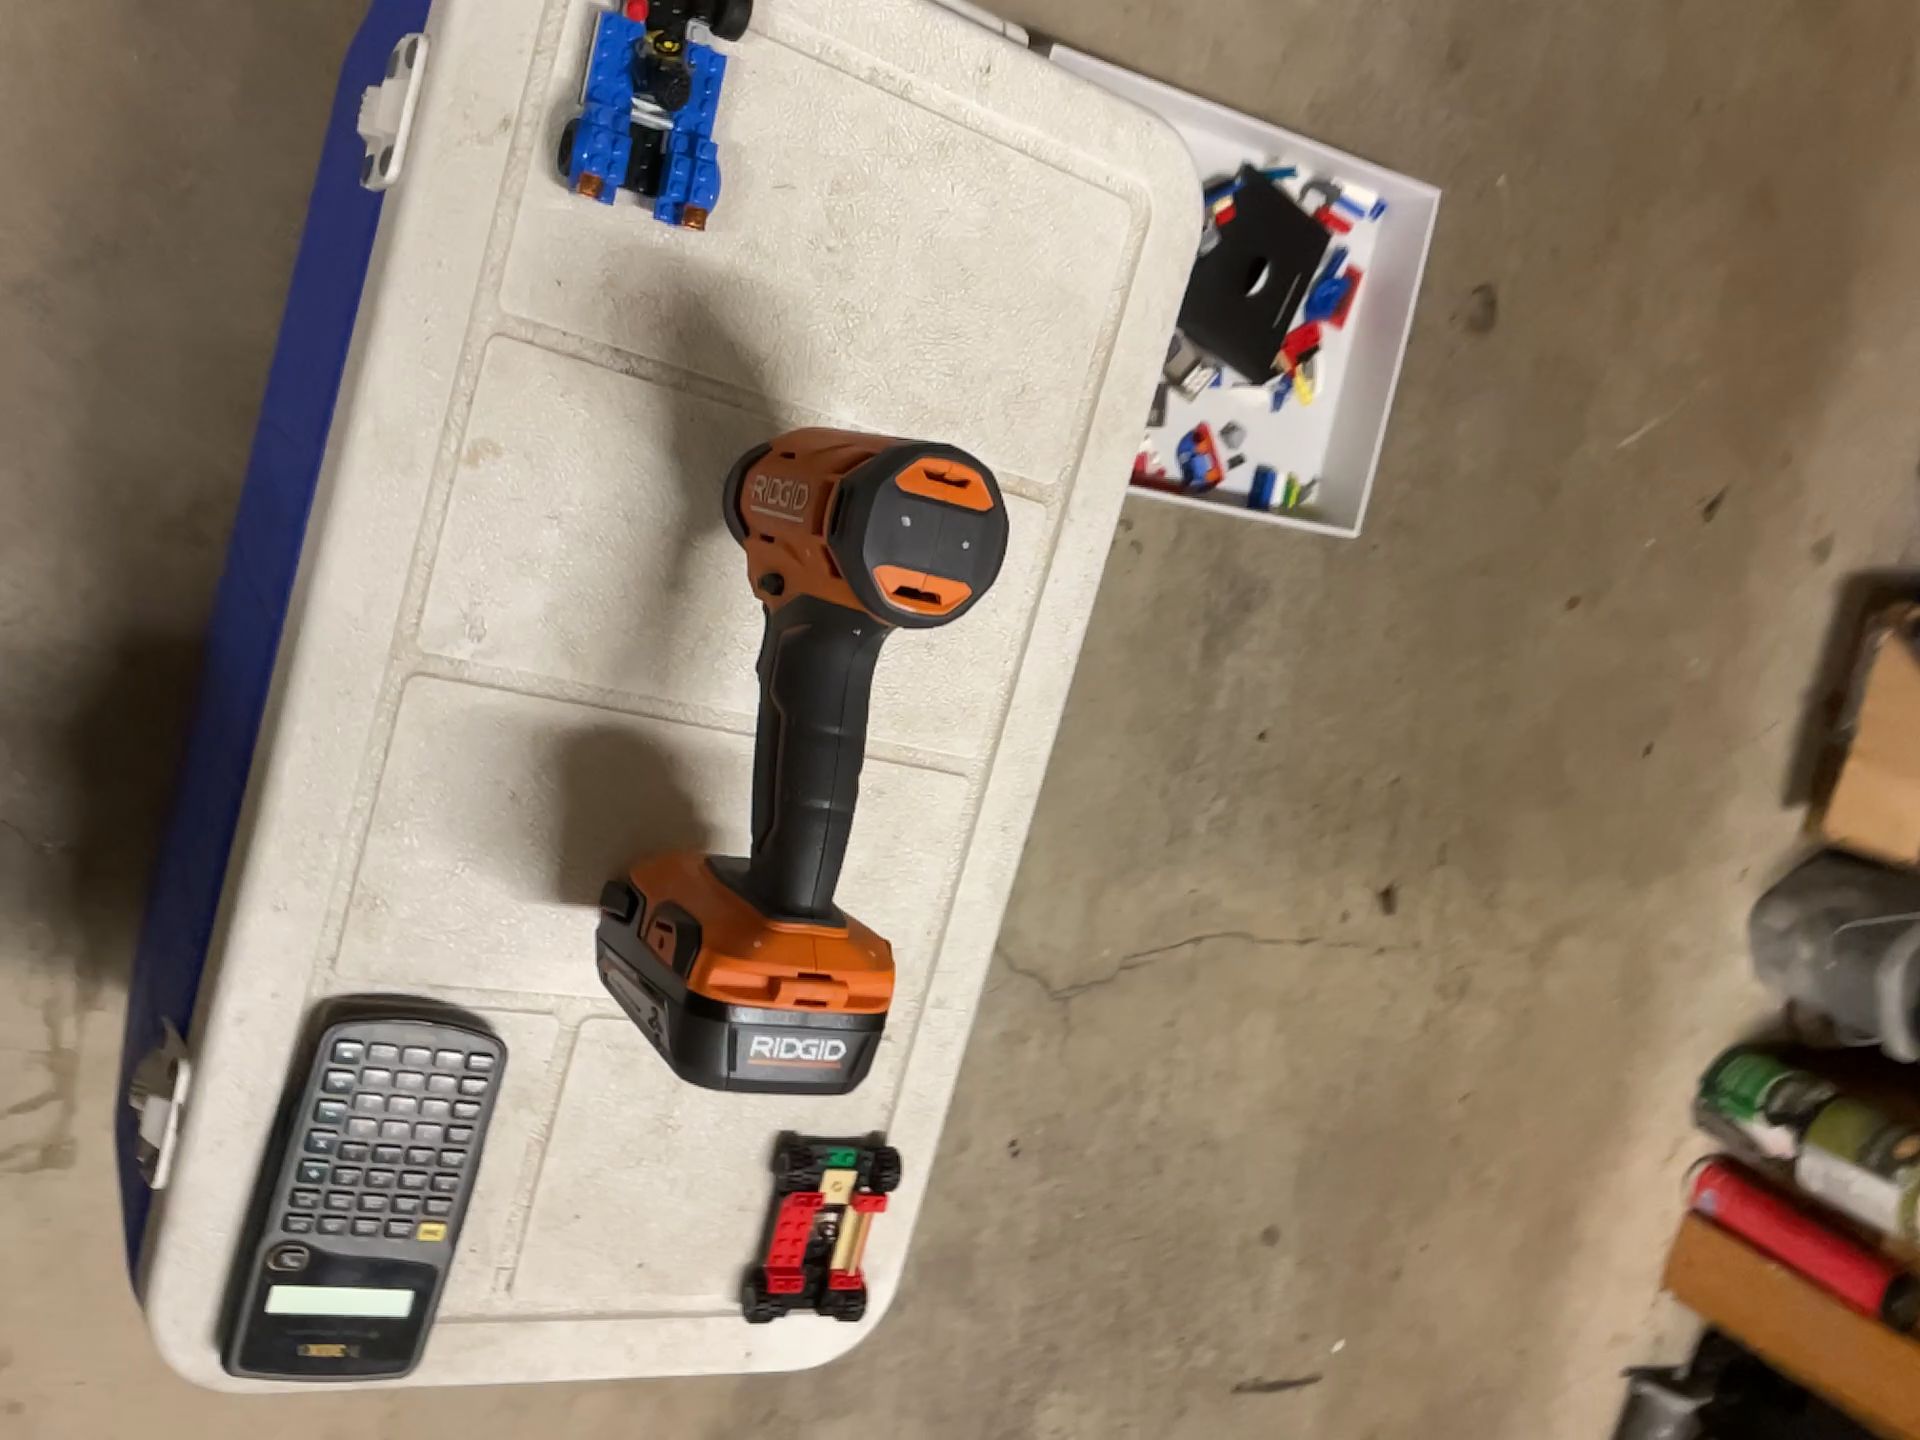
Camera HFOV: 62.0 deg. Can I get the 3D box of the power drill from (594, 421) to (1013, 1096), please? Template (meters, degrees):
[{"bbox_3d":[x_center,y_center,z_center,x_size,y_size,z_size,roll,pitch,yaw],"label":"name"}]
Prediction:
[{"bbox_3d":[-0.066,0.003,0.587,0.084,0.164,0.226,11,97,-31],"label":"power drill"}]
